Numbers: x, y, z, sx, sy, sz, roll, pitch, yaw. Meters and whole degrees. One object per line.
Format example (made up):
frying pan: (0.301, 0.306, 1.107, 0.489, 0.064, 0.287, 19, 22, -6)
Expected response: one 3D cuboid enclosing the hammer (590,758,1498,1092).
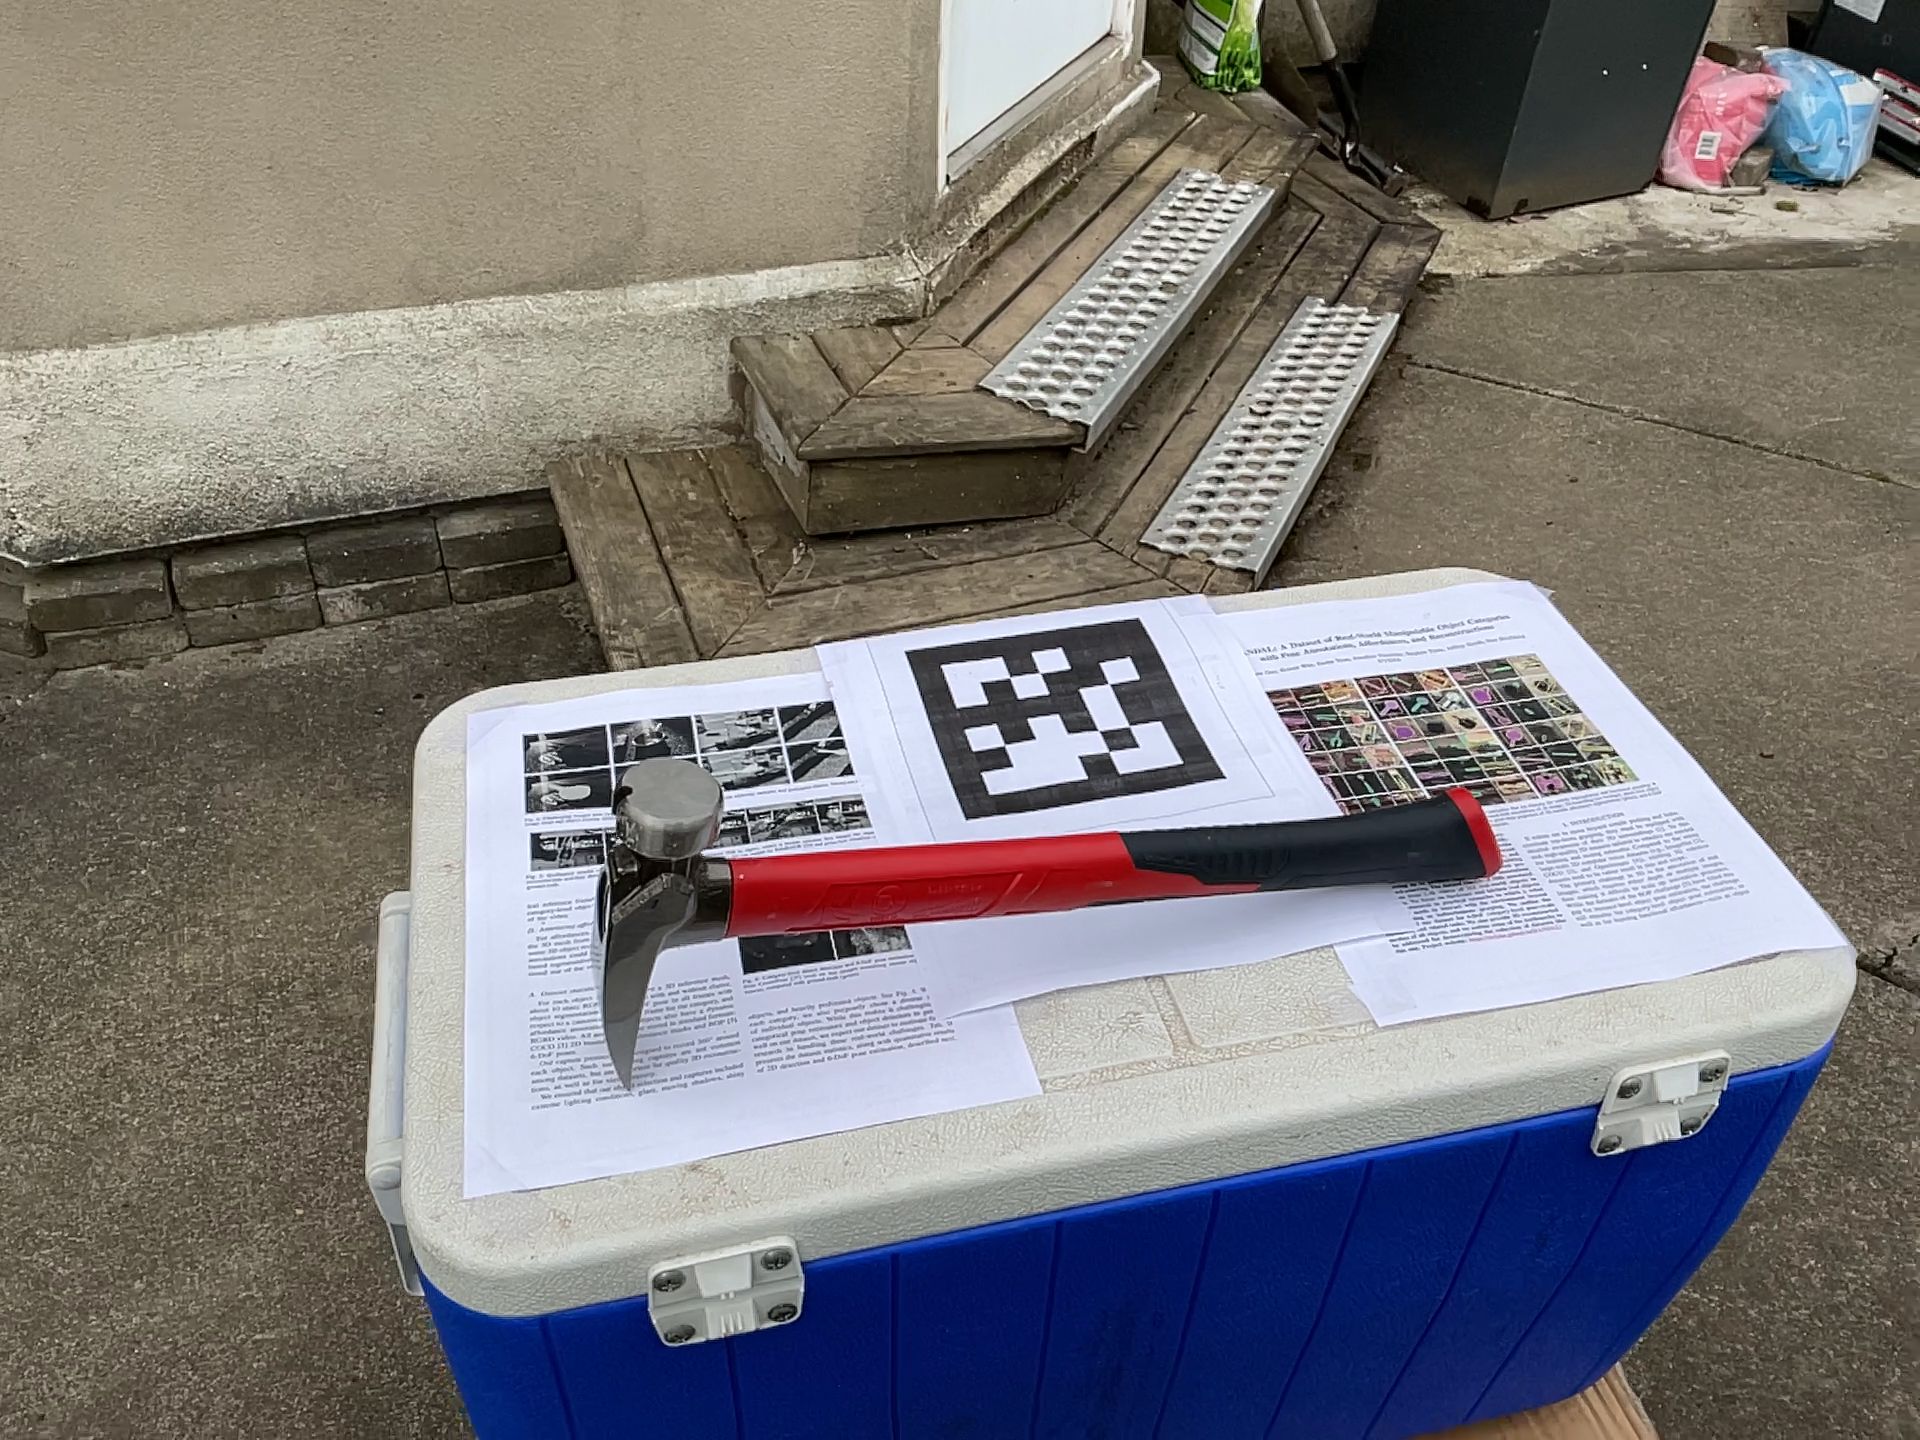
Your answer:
hammer: (0.048, 0.073, 0.650, 0.386, 0.143, 0.038, -2, 39, -22)
